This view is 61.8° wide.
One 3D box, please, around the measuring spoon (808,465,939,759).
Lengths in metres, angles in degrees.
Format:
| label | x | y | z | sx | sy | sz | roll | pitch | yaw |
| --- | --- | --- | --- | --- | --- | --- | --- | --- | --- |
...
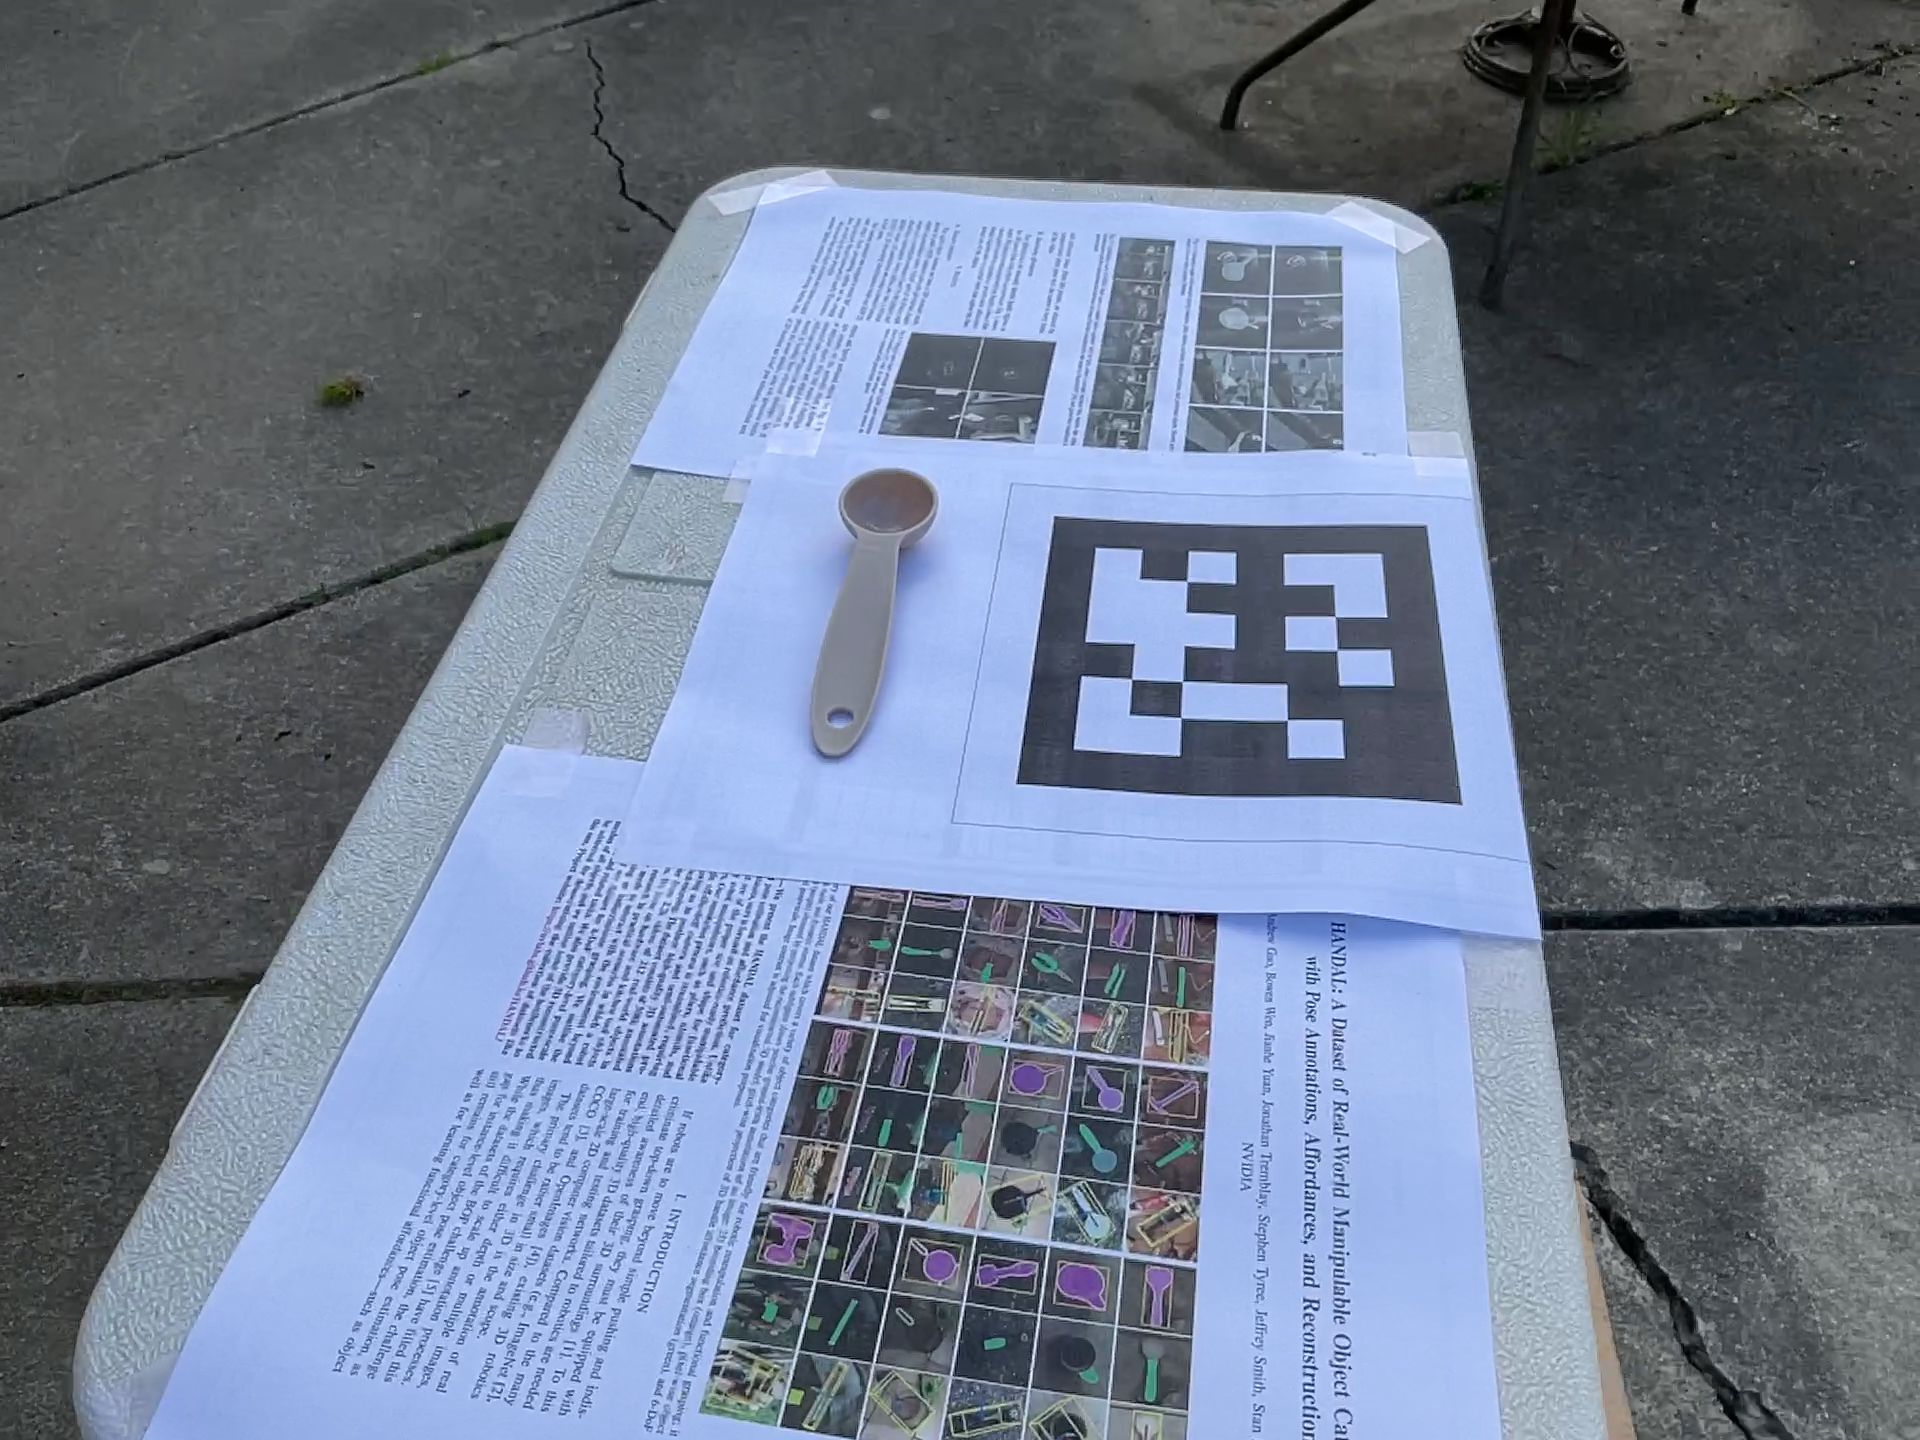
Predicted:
| label | x | y | z | sx | sy | sz | roll | pitch | yaw |
| --- | --- | --- | --- | --- | --- | --- | --- | --- | --- |
| measuring spoon | -0.031 | -0.034 | 0.515 | 0.034 | 0.018 | 0.124 | 6 | 52 | 5 |
